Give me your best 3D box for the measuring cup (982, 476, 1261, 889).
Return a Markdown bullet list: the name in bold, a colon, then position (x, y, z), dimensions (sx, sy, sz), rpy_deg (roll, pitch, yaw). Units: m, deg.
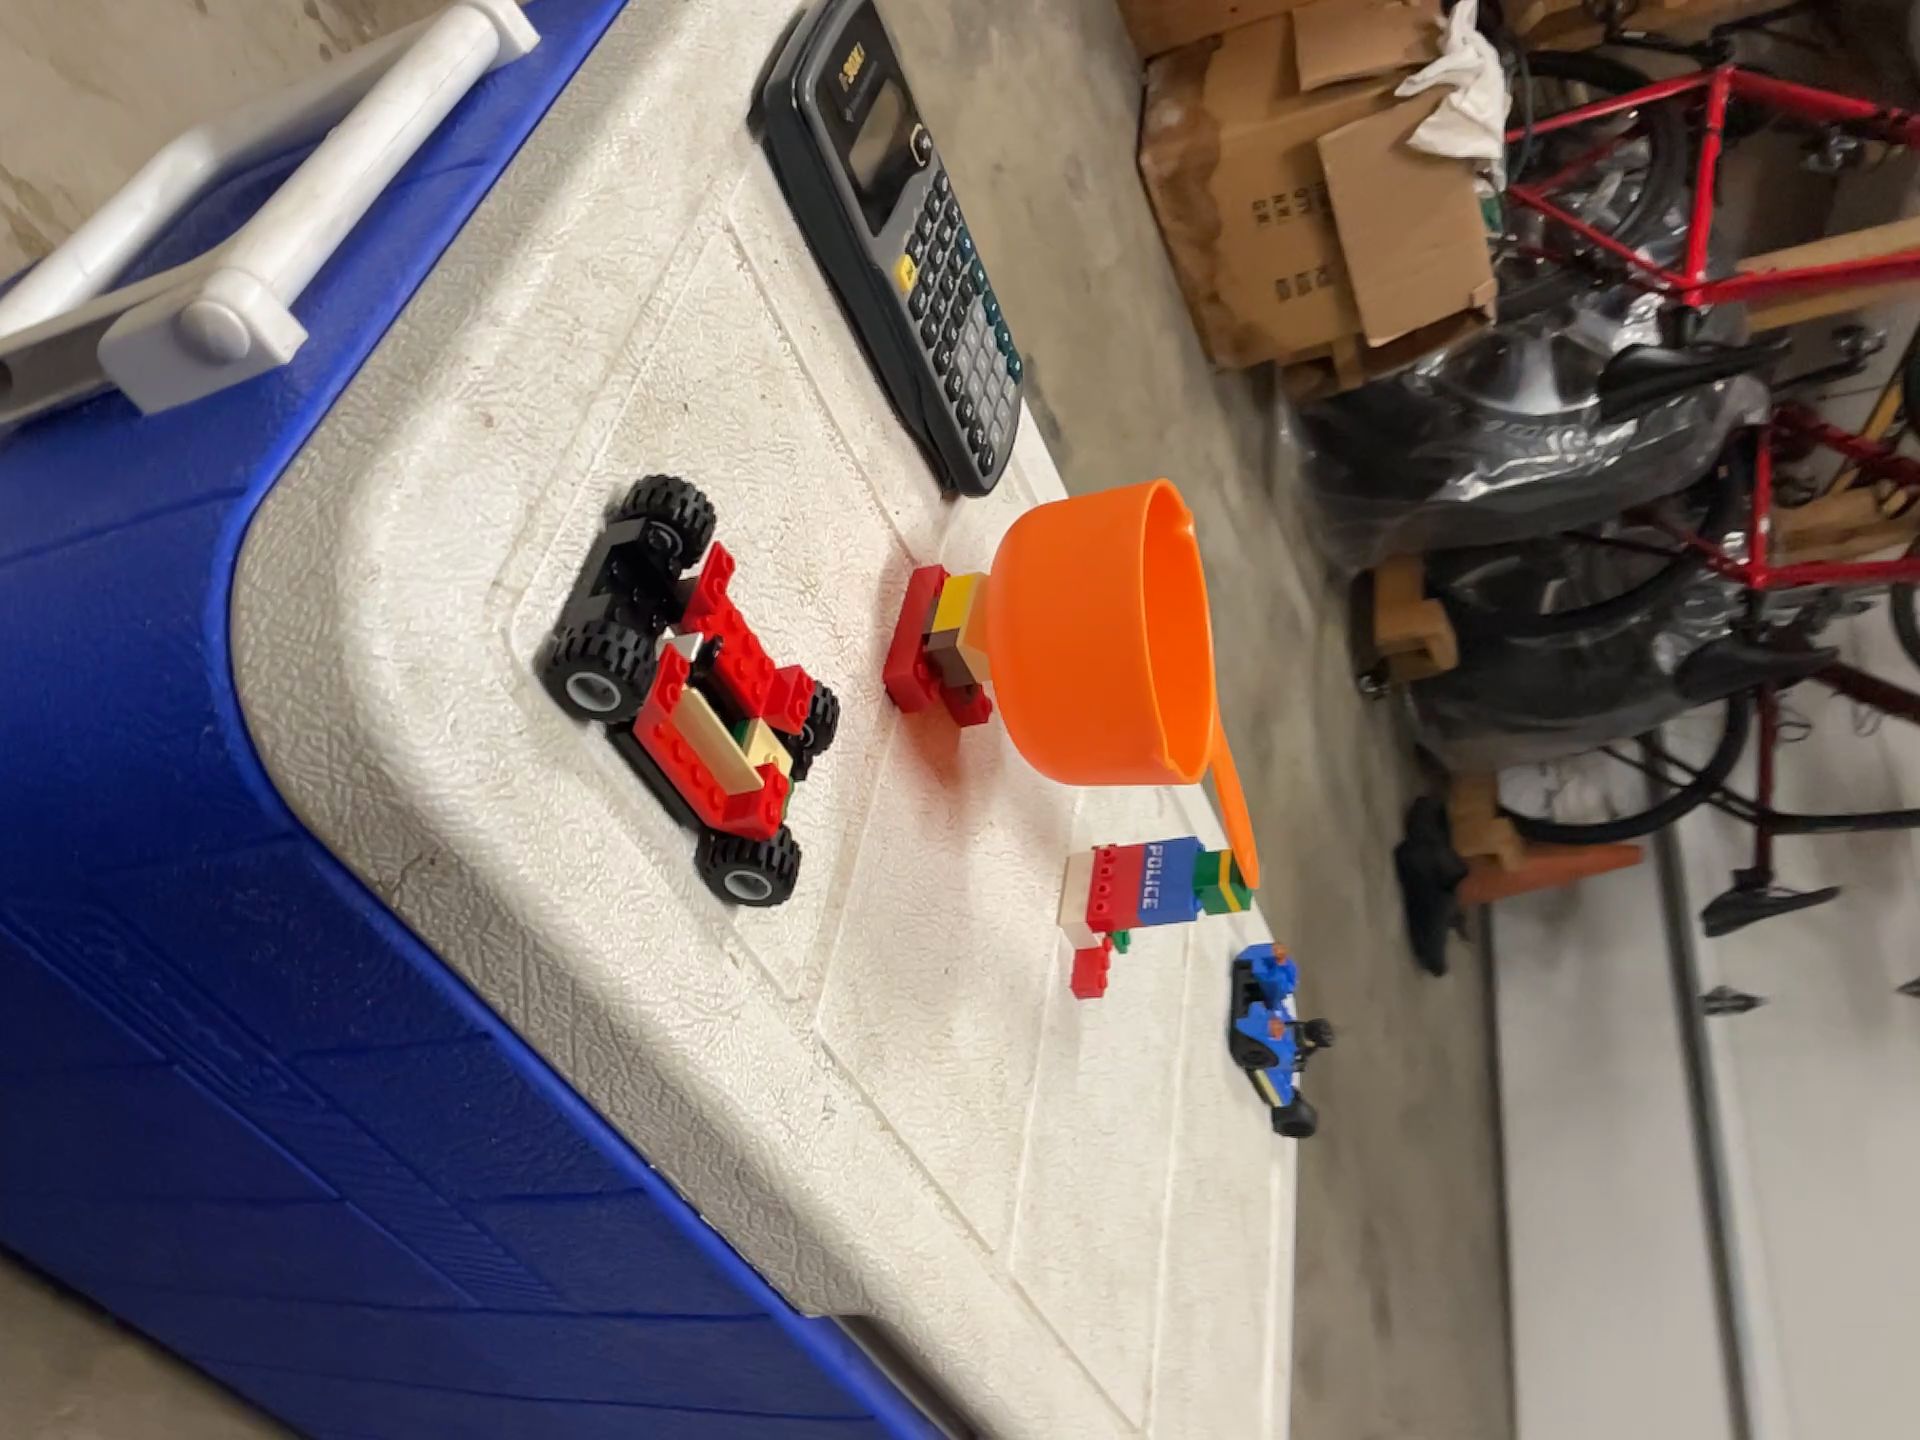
- **measuring cup**: position (0.054, 0.003, 0.491), dimensions (0.173, 0.052, 0.095), rpy_deg (63, 29, -46)
